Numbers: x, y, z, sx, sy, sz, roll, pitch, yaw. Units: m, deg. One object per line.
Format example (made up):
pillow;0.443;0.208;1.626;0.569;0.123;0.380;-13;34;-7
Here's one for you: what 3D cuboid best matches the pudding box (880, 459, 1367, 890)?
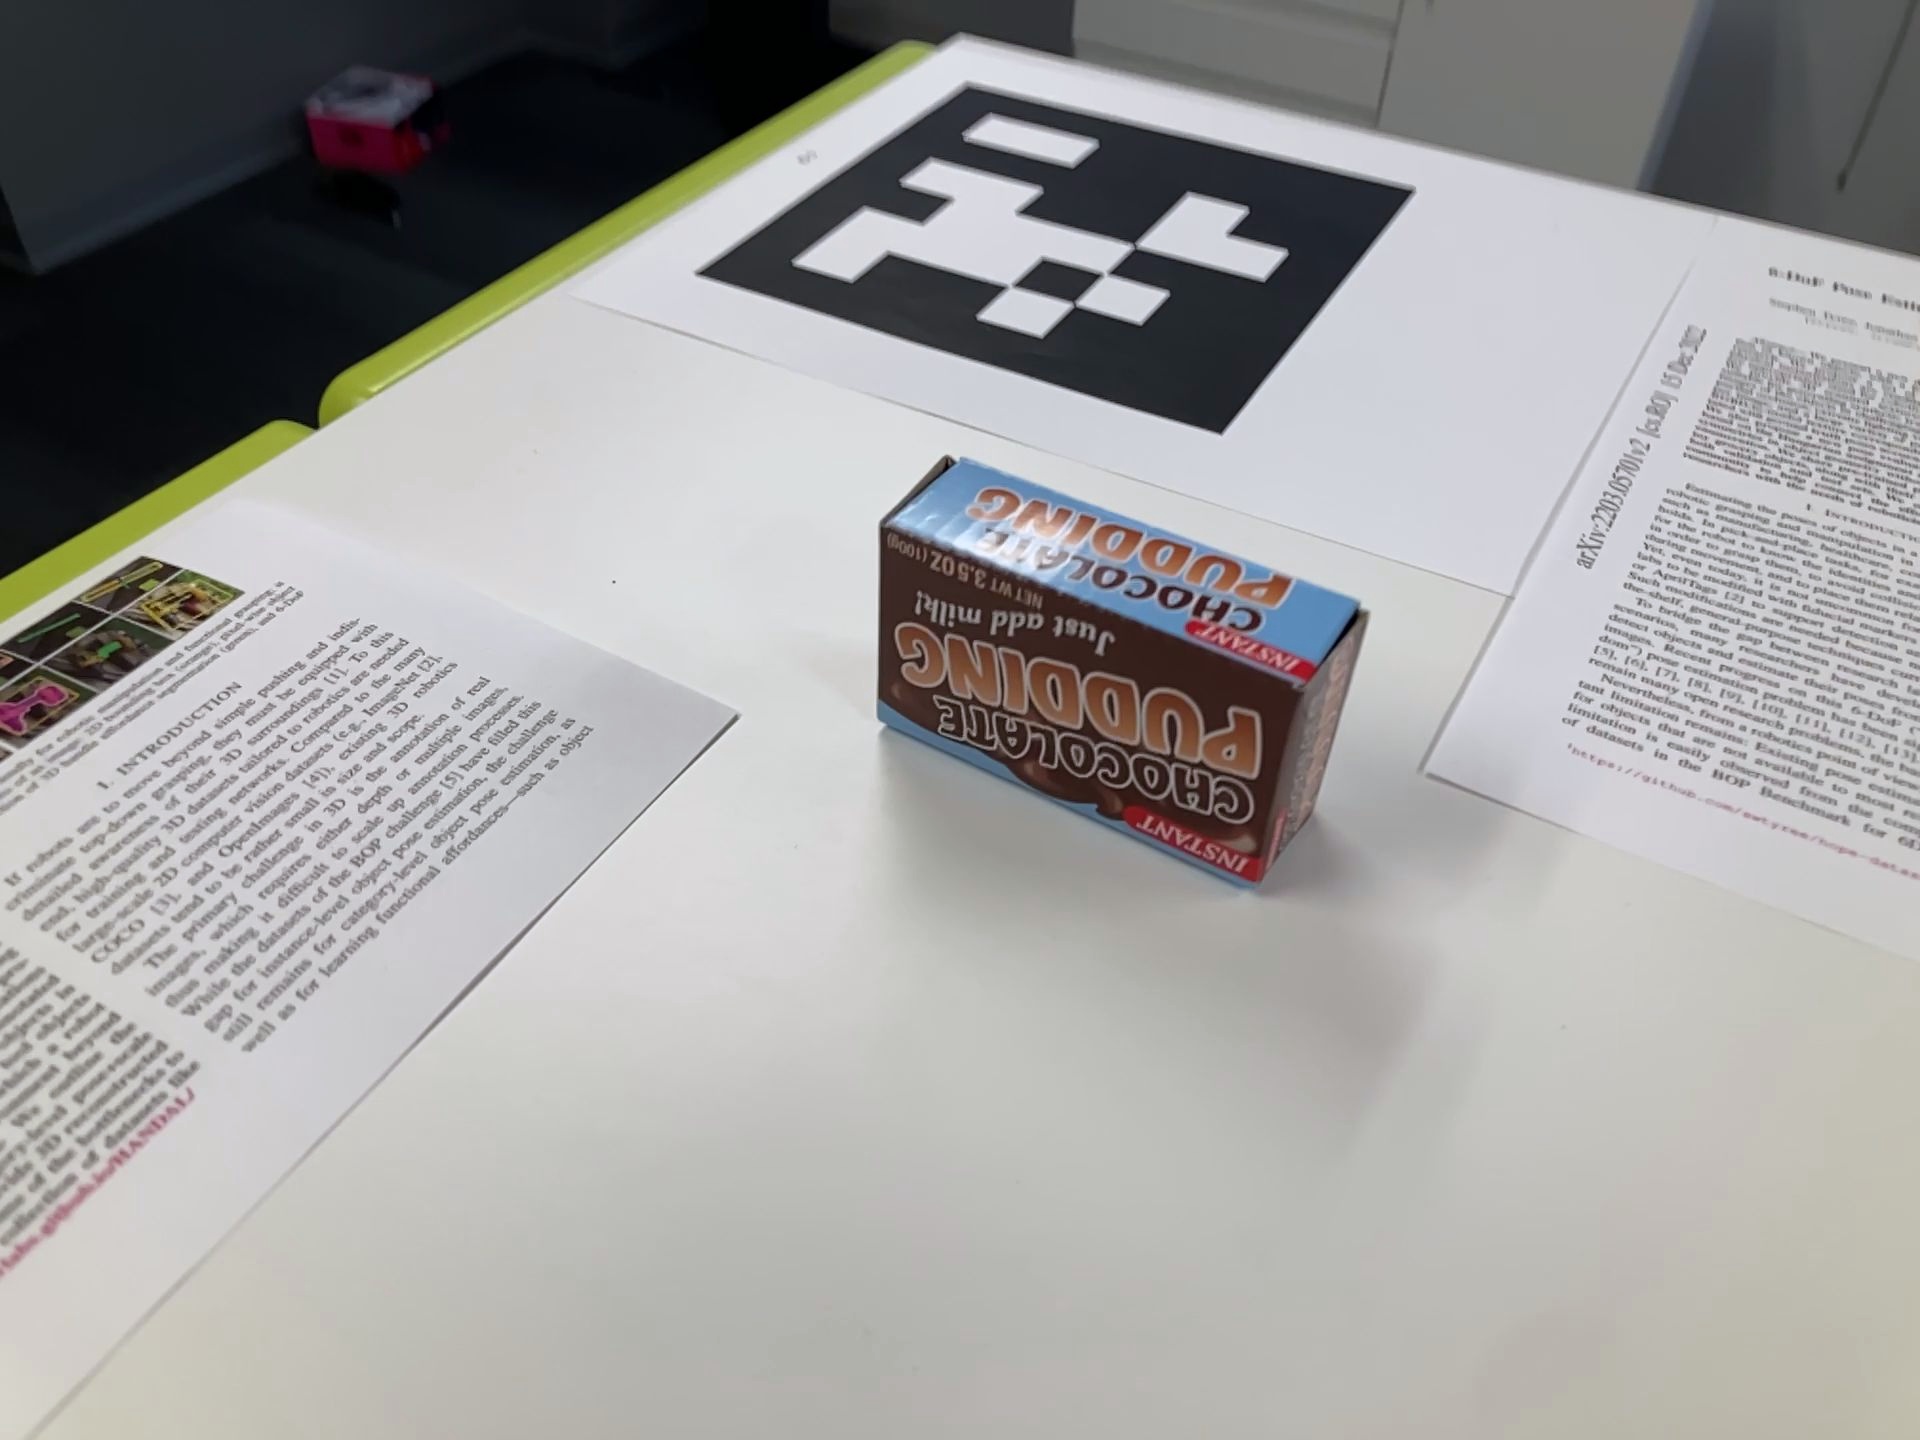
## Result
pudding box;0.026;-0.009;0.292;0.083;0.049;0.030;24;45;22
